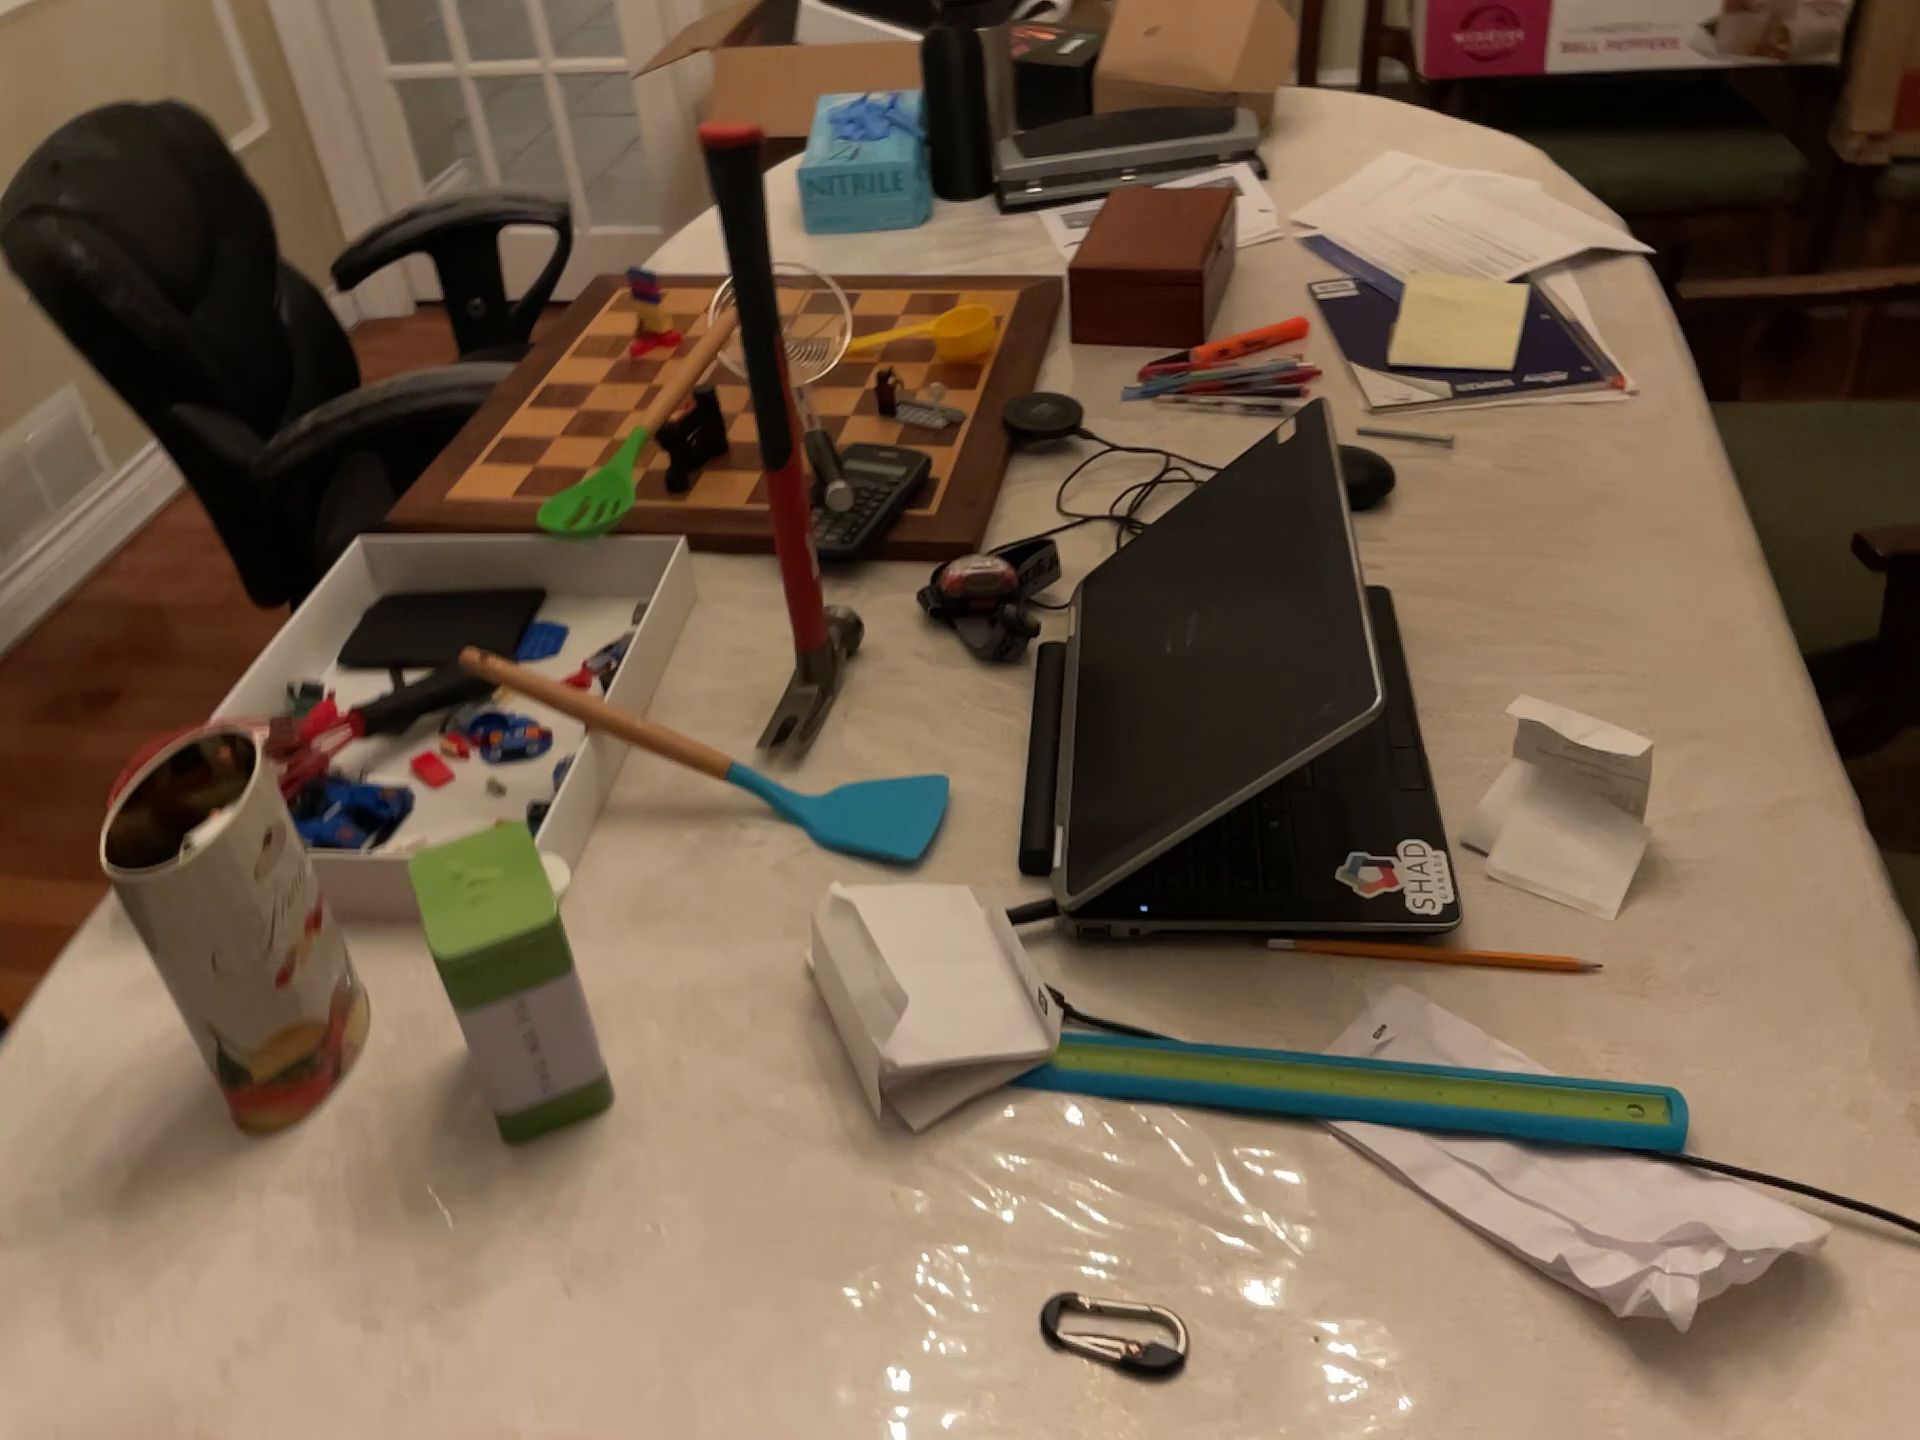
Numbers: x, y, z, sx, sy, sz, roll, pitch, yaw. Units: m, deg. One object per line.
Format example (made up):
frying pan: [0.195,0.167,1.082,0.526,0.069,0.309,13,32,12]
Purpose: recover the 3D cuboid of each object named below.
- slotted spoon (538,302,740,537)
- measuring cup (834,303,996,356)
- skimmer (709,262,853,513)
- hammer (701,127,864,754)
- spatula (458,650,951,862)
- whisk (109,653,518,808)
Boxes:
slotted spoon: [-0.239,-0.244,1.268,0.070,0.031,0.314,8,49,21]
measuring cup: [-0.041,-0.349,1.467,0.157,0.029,0.062,-7,39,19]
skimmer: [-0.133,-0.285,1.328,0.127,0.090,0.364,-10,34,-8]
hammer: [-0.115,-0.162,0.976,0.038,0.386,0.143,5,39,13]
spatula: [-0.165,0.014,0.990,0.317,0.044,0.082,22,43,2]
whisk: [-0.406,0.010,1.035,0.073,0.073,0.295,38,39,19]
